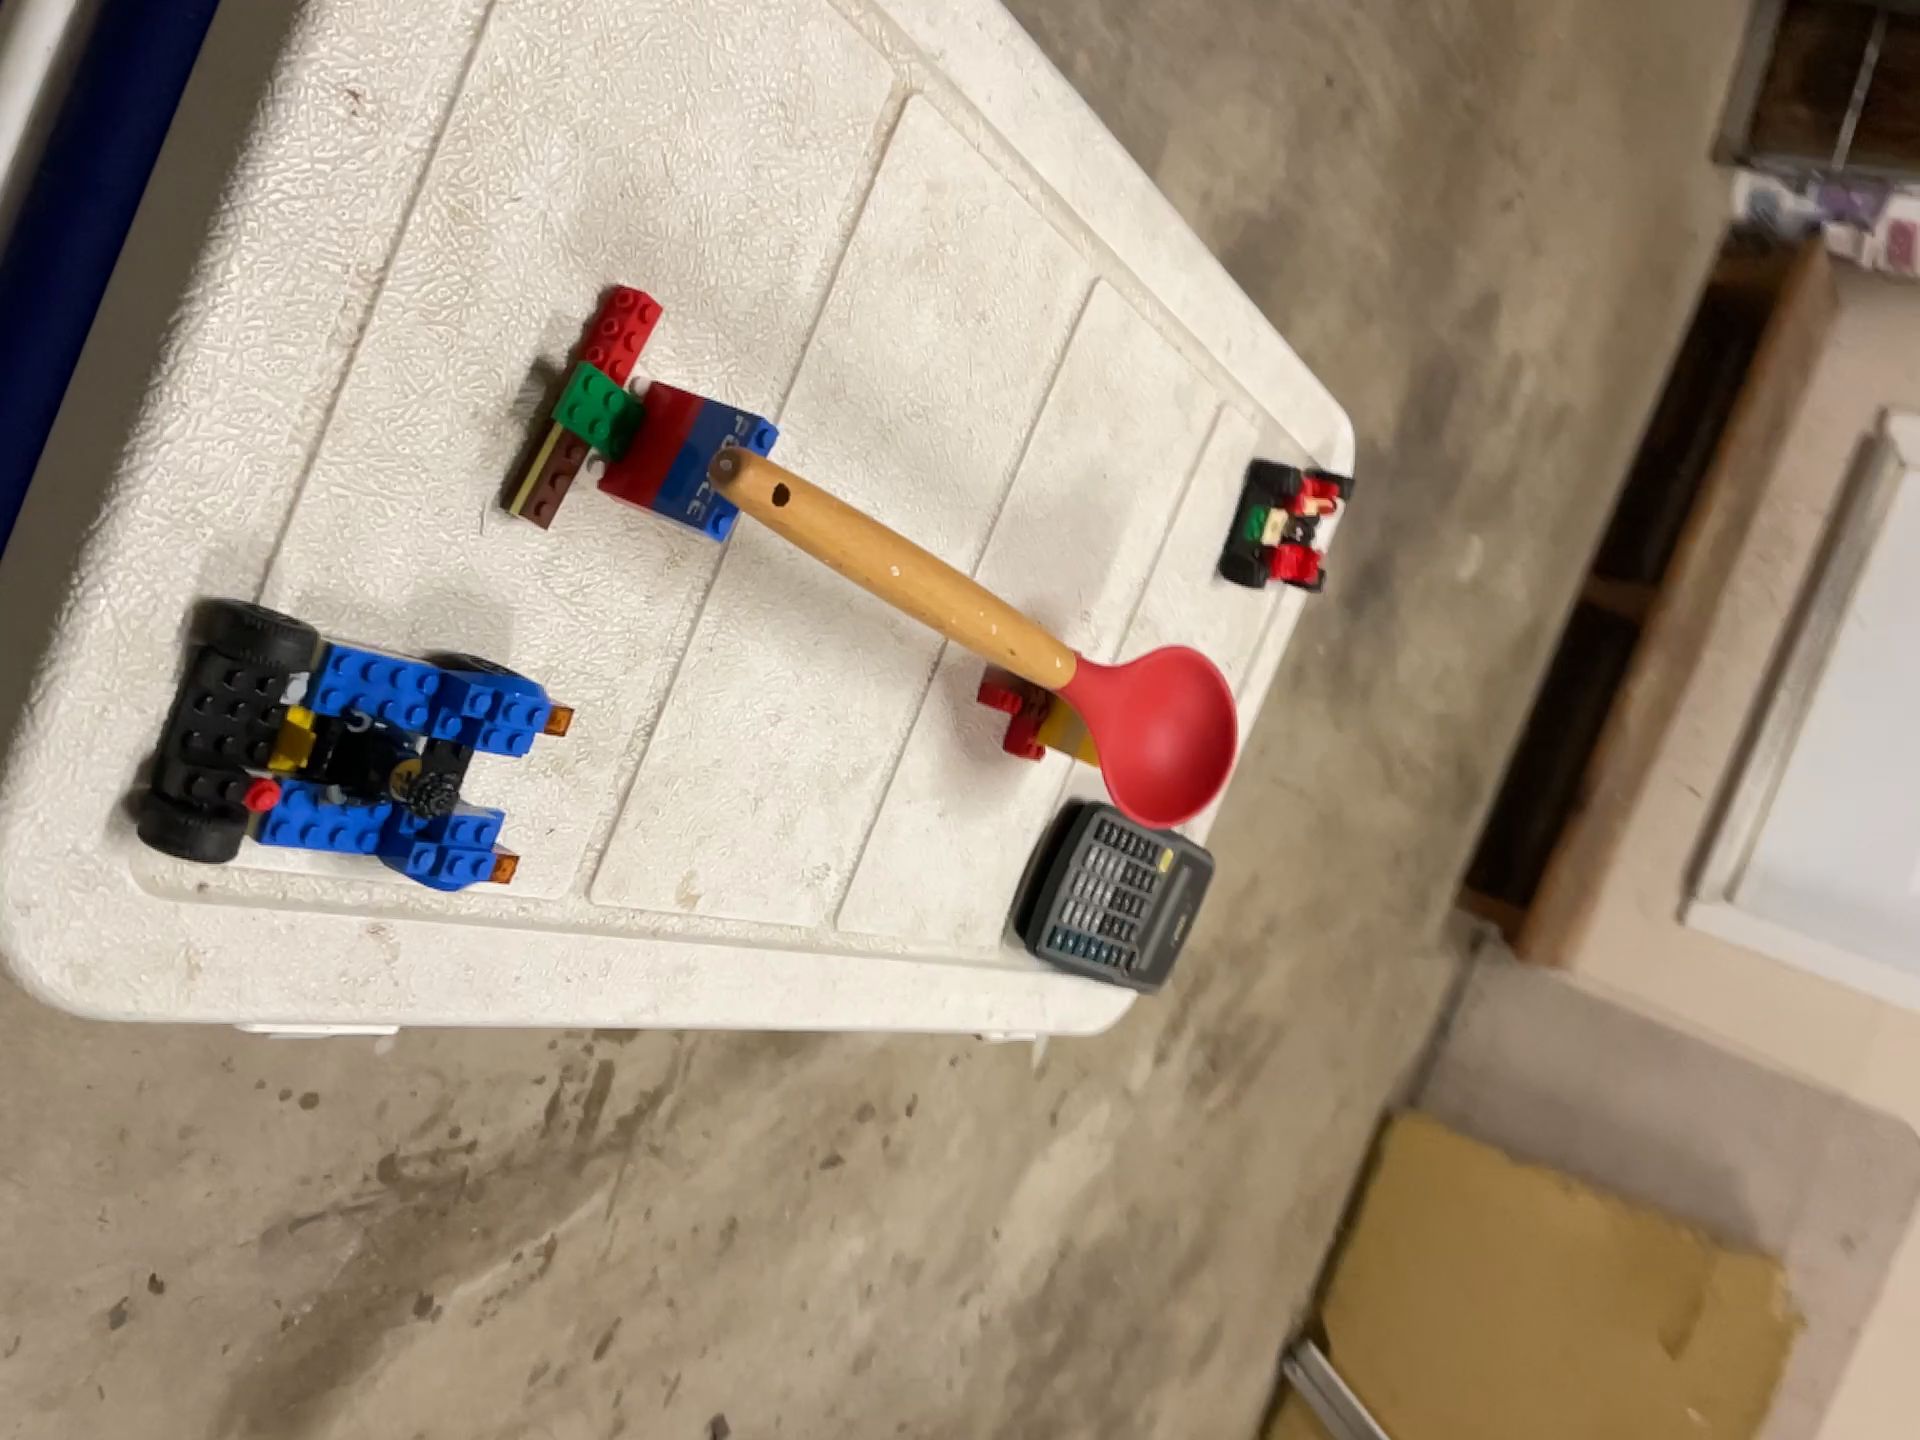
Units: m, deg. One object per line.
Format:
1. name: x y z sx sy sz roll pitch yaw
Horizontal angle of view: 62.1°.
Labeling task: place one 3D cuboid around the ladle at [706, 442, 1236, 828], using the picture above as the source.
1. ladle: 0.019 -0.022 0.503 0.315 0.031 0.069 26 82 -58
